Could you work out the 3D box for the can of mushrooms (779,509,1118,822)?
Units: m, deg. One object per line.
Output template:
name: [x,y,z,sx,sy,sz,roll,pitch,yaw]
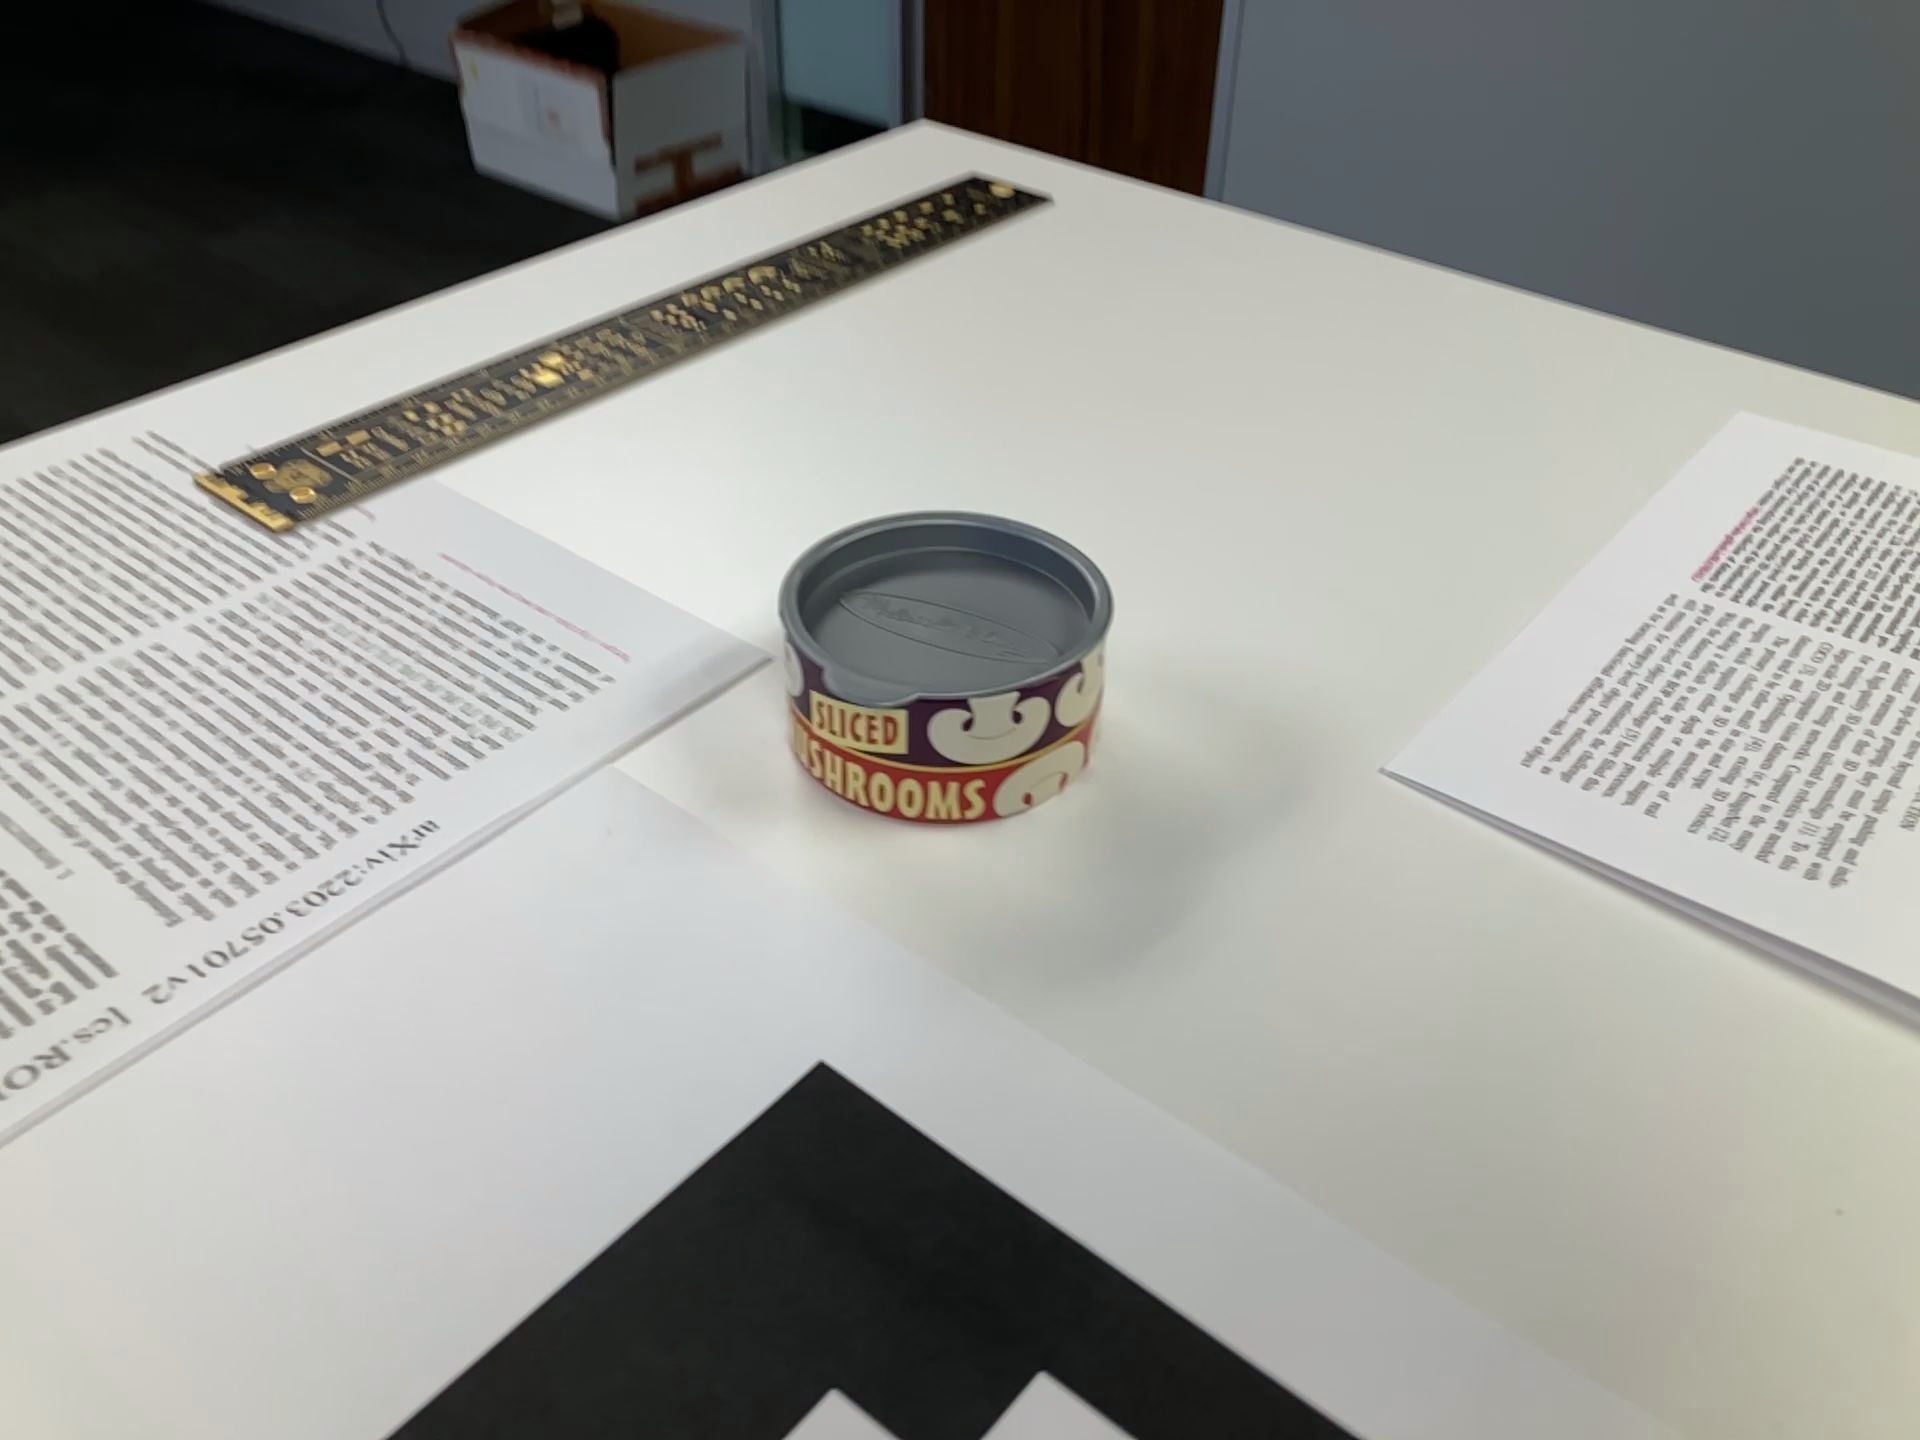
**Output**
can of mushrooms: [-0.004,-0.011,0.318,0.071,0.033,0.071,2,38,-1]
